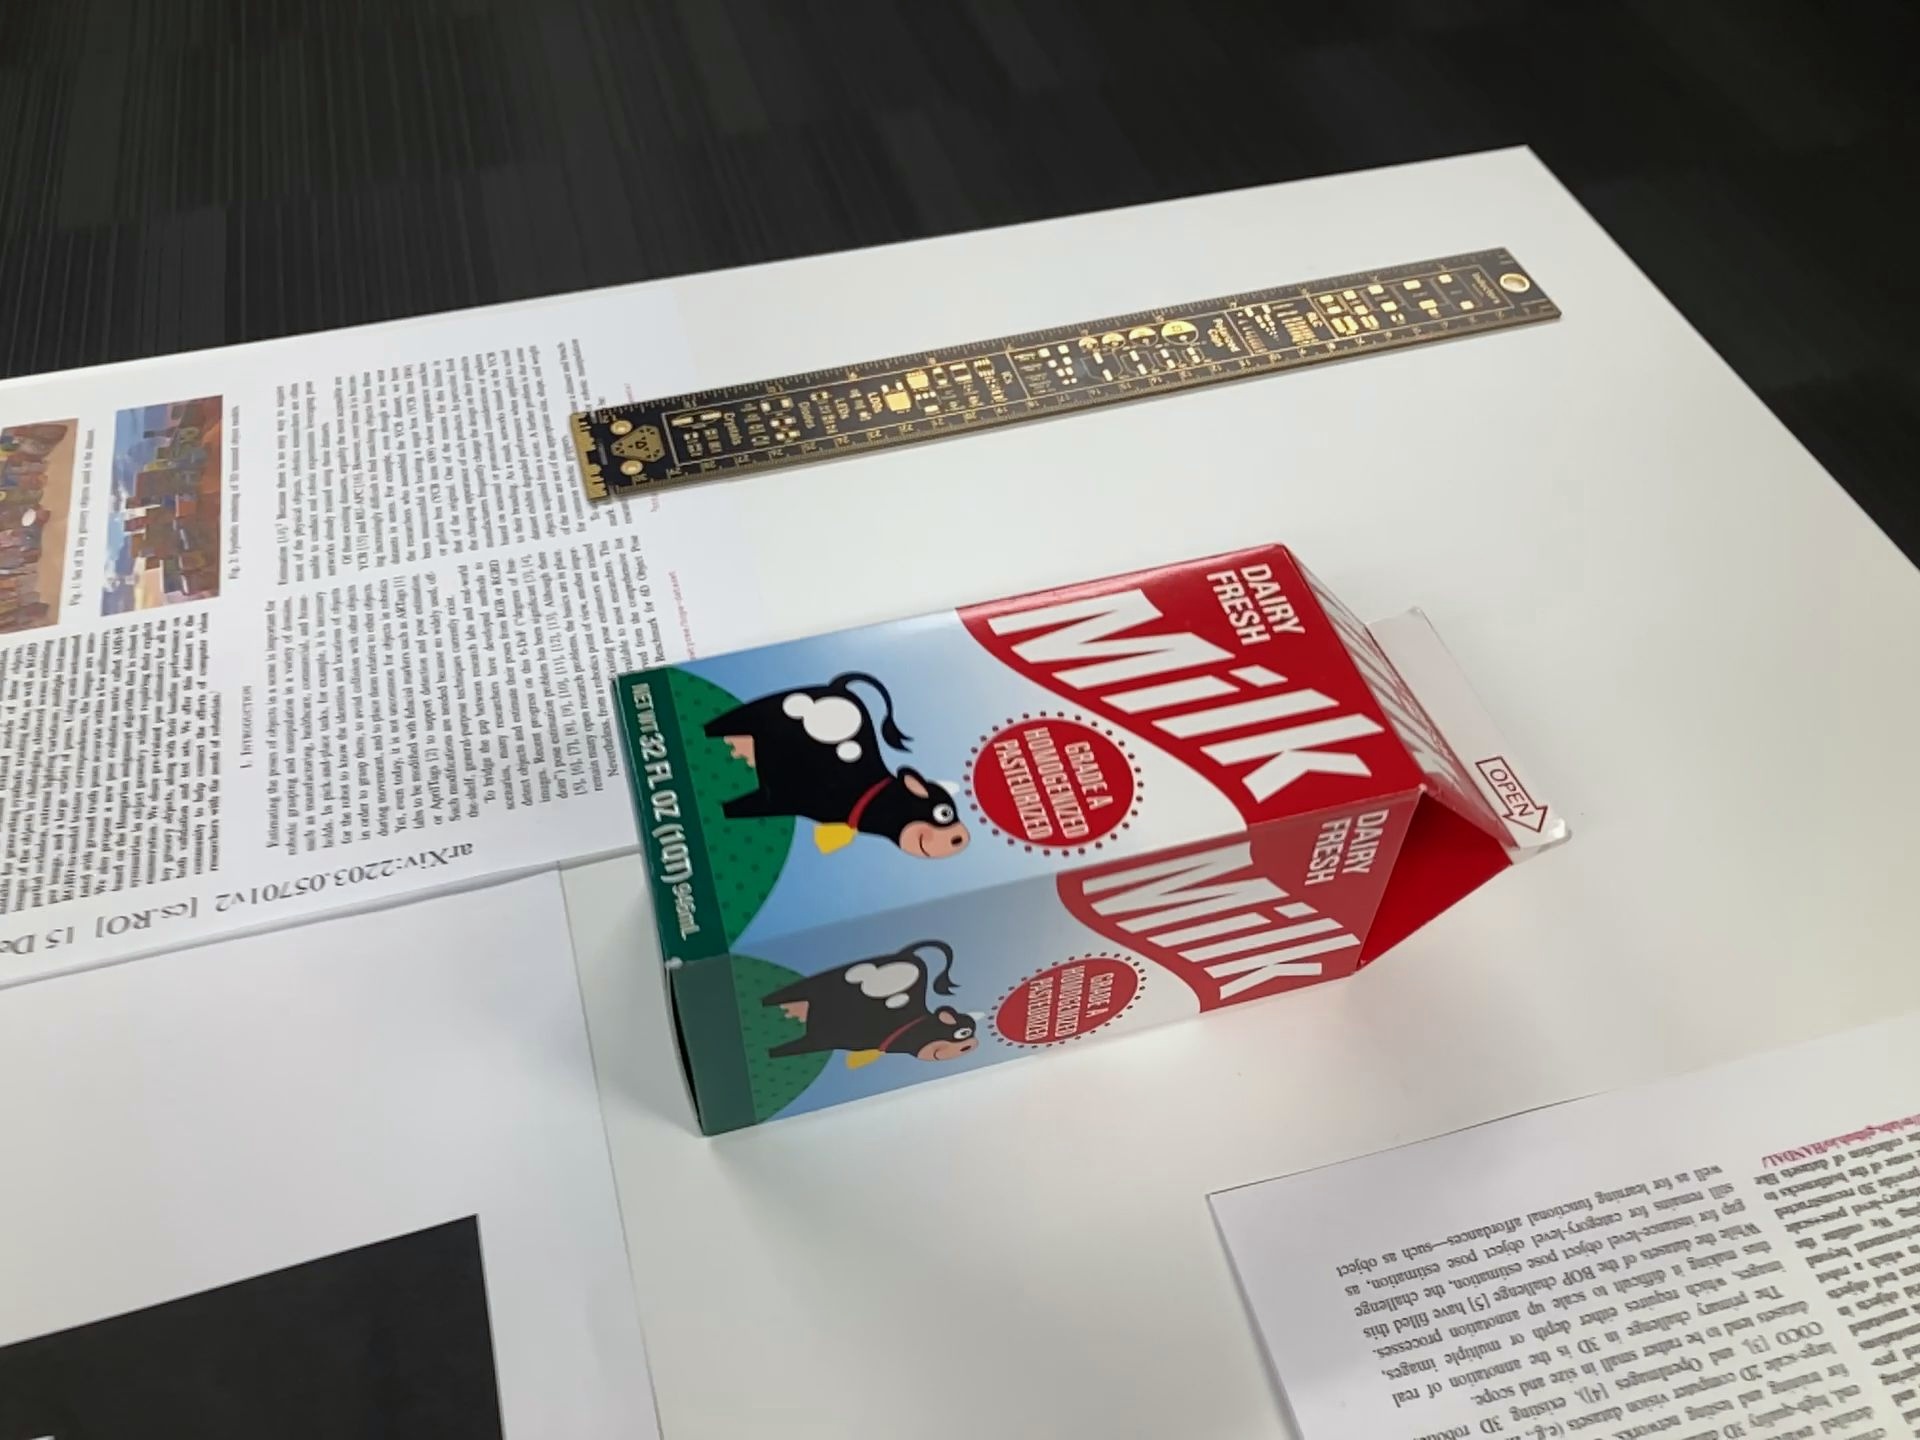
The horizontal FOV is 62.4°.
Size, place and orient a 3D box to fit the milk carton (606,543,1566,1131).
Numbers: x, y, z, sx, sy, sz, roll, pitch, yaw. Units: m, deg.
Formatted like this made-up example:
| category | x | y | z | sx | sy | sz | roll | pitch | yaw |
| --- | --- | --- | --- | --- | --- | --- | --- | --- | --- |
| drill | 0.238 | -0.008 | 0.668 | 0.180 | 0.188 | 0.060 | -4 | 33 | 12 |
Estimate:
| category | x | y | z | sx | sy | sz | roll | pitch | yaw |
| --- | --- | --- | --- | --- | --- | --- | --- | --- | --- |
| milk carton | 0.028 | 0.019 | 0.342 | 0.190 | 0.073 | 0.072 | -12 | 51 | -11 |
